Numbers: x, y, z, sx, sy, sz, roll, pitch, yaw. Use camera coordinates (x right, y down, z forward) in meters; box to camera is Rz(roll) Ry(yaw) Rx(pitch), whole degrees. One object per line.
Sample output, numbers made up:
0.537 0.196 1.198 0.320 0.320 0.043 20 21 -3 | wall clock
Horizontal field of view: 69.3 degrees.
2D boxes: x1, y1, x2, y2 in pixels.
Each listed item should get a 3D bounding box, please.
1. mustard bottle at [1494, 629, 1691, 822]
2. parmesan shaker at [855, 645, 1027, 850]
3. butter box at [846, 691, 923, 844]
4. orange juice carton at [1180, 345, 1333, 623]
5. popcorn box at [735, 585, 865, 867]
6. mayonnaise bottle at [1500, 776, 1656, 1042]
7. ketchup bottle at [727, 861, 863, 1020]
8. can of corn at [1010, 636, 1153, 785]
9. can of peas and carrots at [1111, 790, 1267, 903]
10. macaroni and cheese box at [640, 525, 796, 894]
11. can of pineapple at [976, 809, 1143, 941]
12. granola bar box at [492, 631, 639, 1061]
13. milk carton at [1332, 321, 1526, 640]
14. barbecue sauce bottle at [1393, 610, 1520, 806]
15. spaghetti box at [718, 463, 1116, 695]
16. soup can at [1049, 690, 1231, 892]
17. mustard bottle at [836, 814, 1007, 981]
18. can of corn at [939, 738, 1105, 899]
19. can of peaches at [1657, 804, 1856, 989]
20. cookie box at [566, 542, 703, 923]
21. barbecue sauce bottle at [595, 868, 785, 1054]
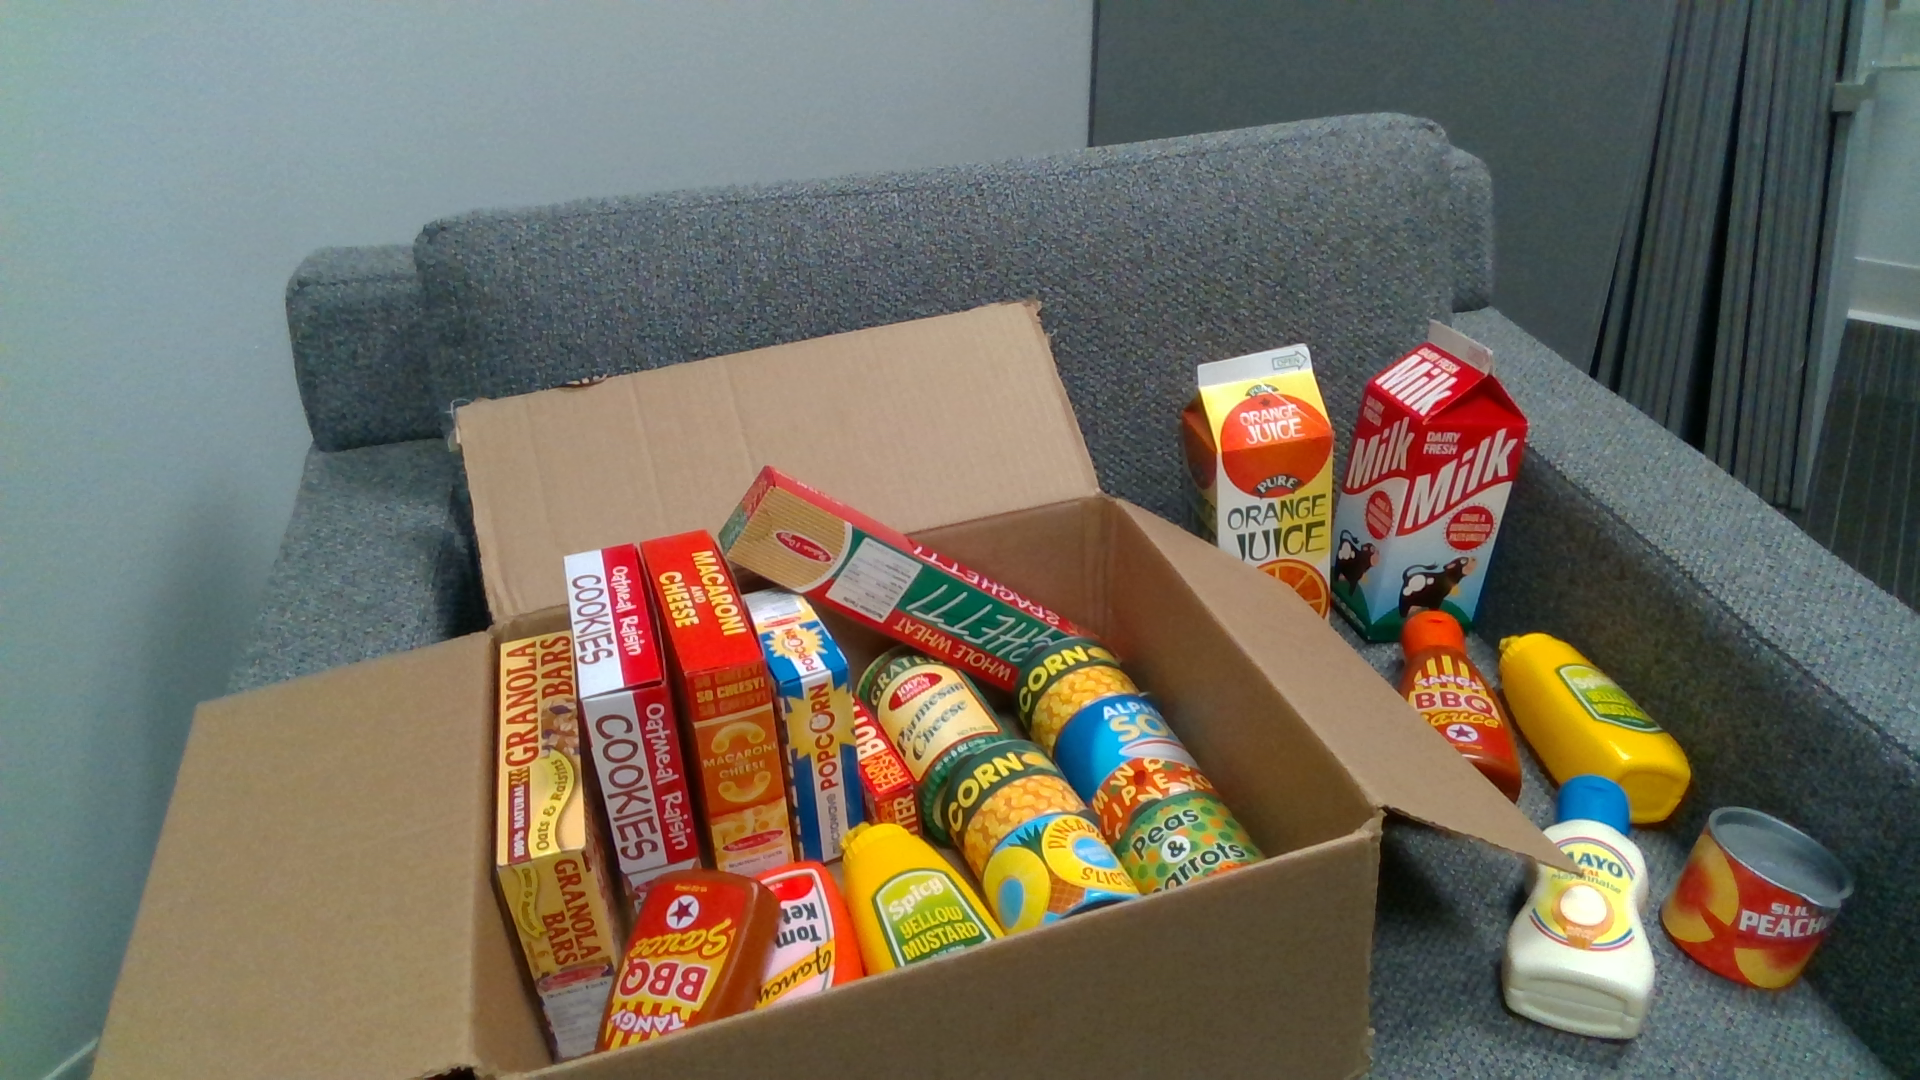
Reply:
0.351 0.095 0.806 0.065 0.048 0.161 9 28 -17 | mustard bottle
-0.006 0.108 0.754 0.071 0.071 0.103 -14 32 -20 | parmesan shaker
-0.052 0.125 0.752 0.024 0.052 0.104 -18 34 -19 | butter box
0.181 -0.024 0.858 0.072 0.191 0.073 -9 26 -7 | orange juice carton
-0.085 0.098 0.735 0.038 0.126 0.085 -15 34 -19 | popcorn box
0.301 0.172 0.670 0.065 0.041 0.149 7 31 24 | mayonnaise bottle
-0.070 0.211 0.616 0.065 0.043 0.149 -19 34 -7 | ketchup bottle
0.067 0.095 0.771 0.071 0.070 0.058 -10 31 -15 | can of corn
0.112 0.161 0.658 0.071 0.070 0.059 -11 32 -16 | can of peas and carrots
-0.119 0.094 0.696 0.040 0.165 0.124 -13 33 -16 | macaroni and cheese box
0.049 0.170 0.649 0.071 0.070 0.058 -13 33 -19 | can of pineapple
-0.190 0.141 0.667 0.039 0.123 0.166 -12 32 -10 | granola bar box
0.292 -0.036 0.872 0.073 0.189 0.072 0 25 -13 | milk carton
0.277 0.095 0.796 0.065 0.043 0.149 5 30 9 | barbecue sauce bottle
-0.015 0.035 0.765 0.250 0.050 0.029 28 16 -30 | spaghetti box
0.093 0.126 0.714 0.071 0.071 0.084 -11 31 -16 | soup can
-0.026 0.180 0.664 0.065 0.048 0.161 -12 33 -23 | mustard bottle
0.029 0.141 0.692 0.071 0.070 0.058 -13 33 -20 | can of corn
0.377 0.171 0.659 0.071 0.057 0.071 12 26 -6 | can of peaches
-0.157 0.103 0.684 0.040 0.166 0.123 -11 32 -13 | cookie box
-0.125 0.215 0.587 0.065 0.043 0.149 -3 47 24 | barbecue sauce bottle
